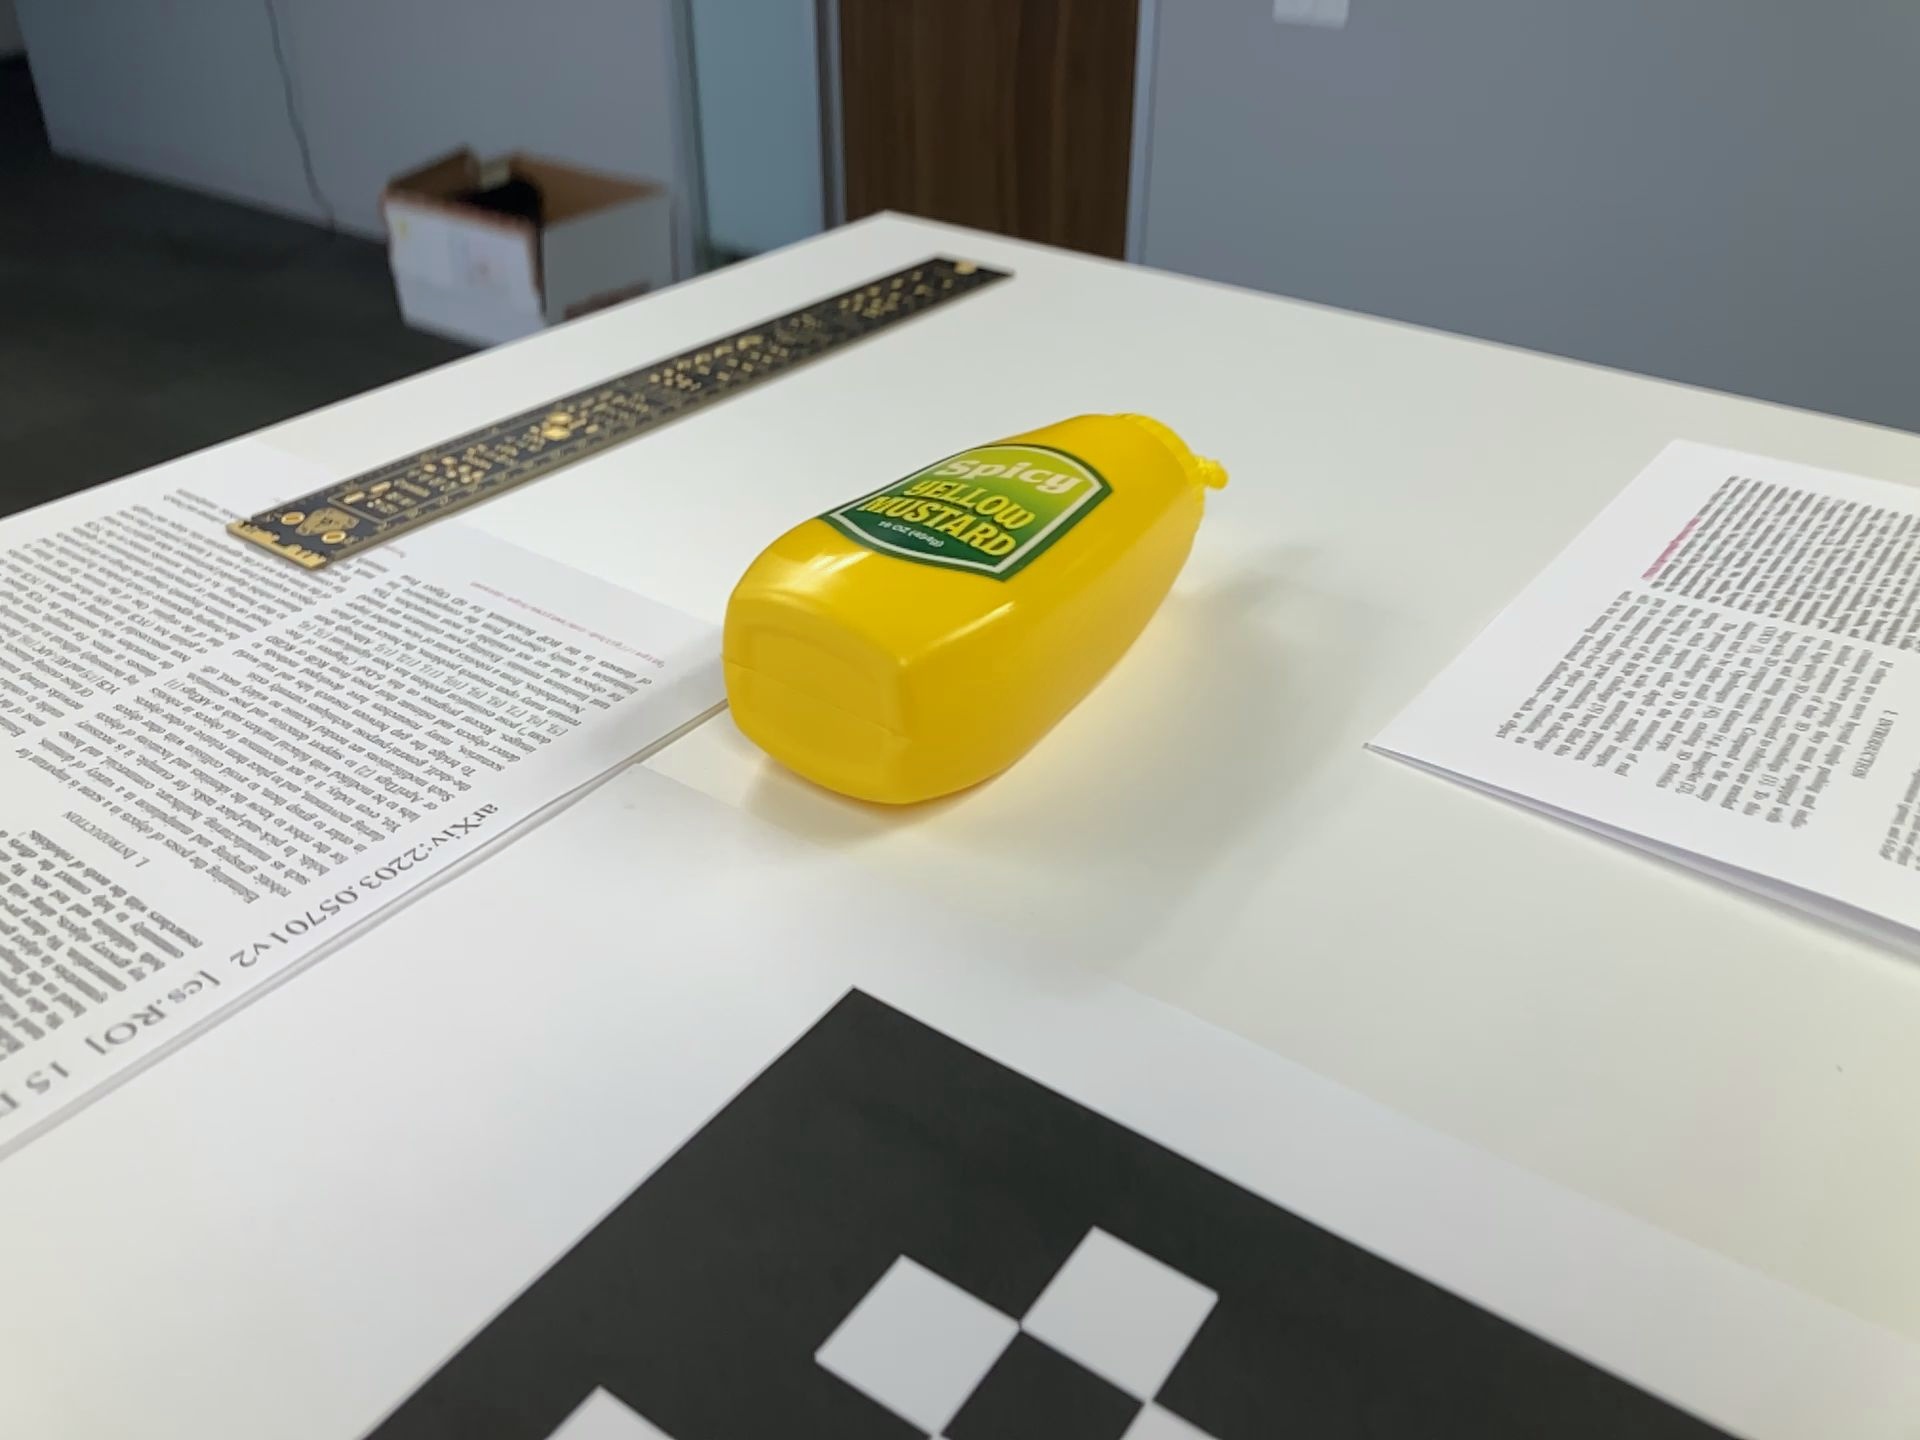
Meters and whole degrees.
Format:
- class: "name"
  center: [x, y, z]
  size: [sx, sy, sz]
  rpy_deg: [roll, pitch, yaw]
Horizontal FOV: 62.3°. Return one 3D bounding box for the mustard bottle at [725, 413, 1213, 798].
- class: "mustard bottle"
  center: [0.017, -0.039, 0.366]
  size: [0.065, 0.049, 0.160]
  rpy_deg: [22, 38, 28]
